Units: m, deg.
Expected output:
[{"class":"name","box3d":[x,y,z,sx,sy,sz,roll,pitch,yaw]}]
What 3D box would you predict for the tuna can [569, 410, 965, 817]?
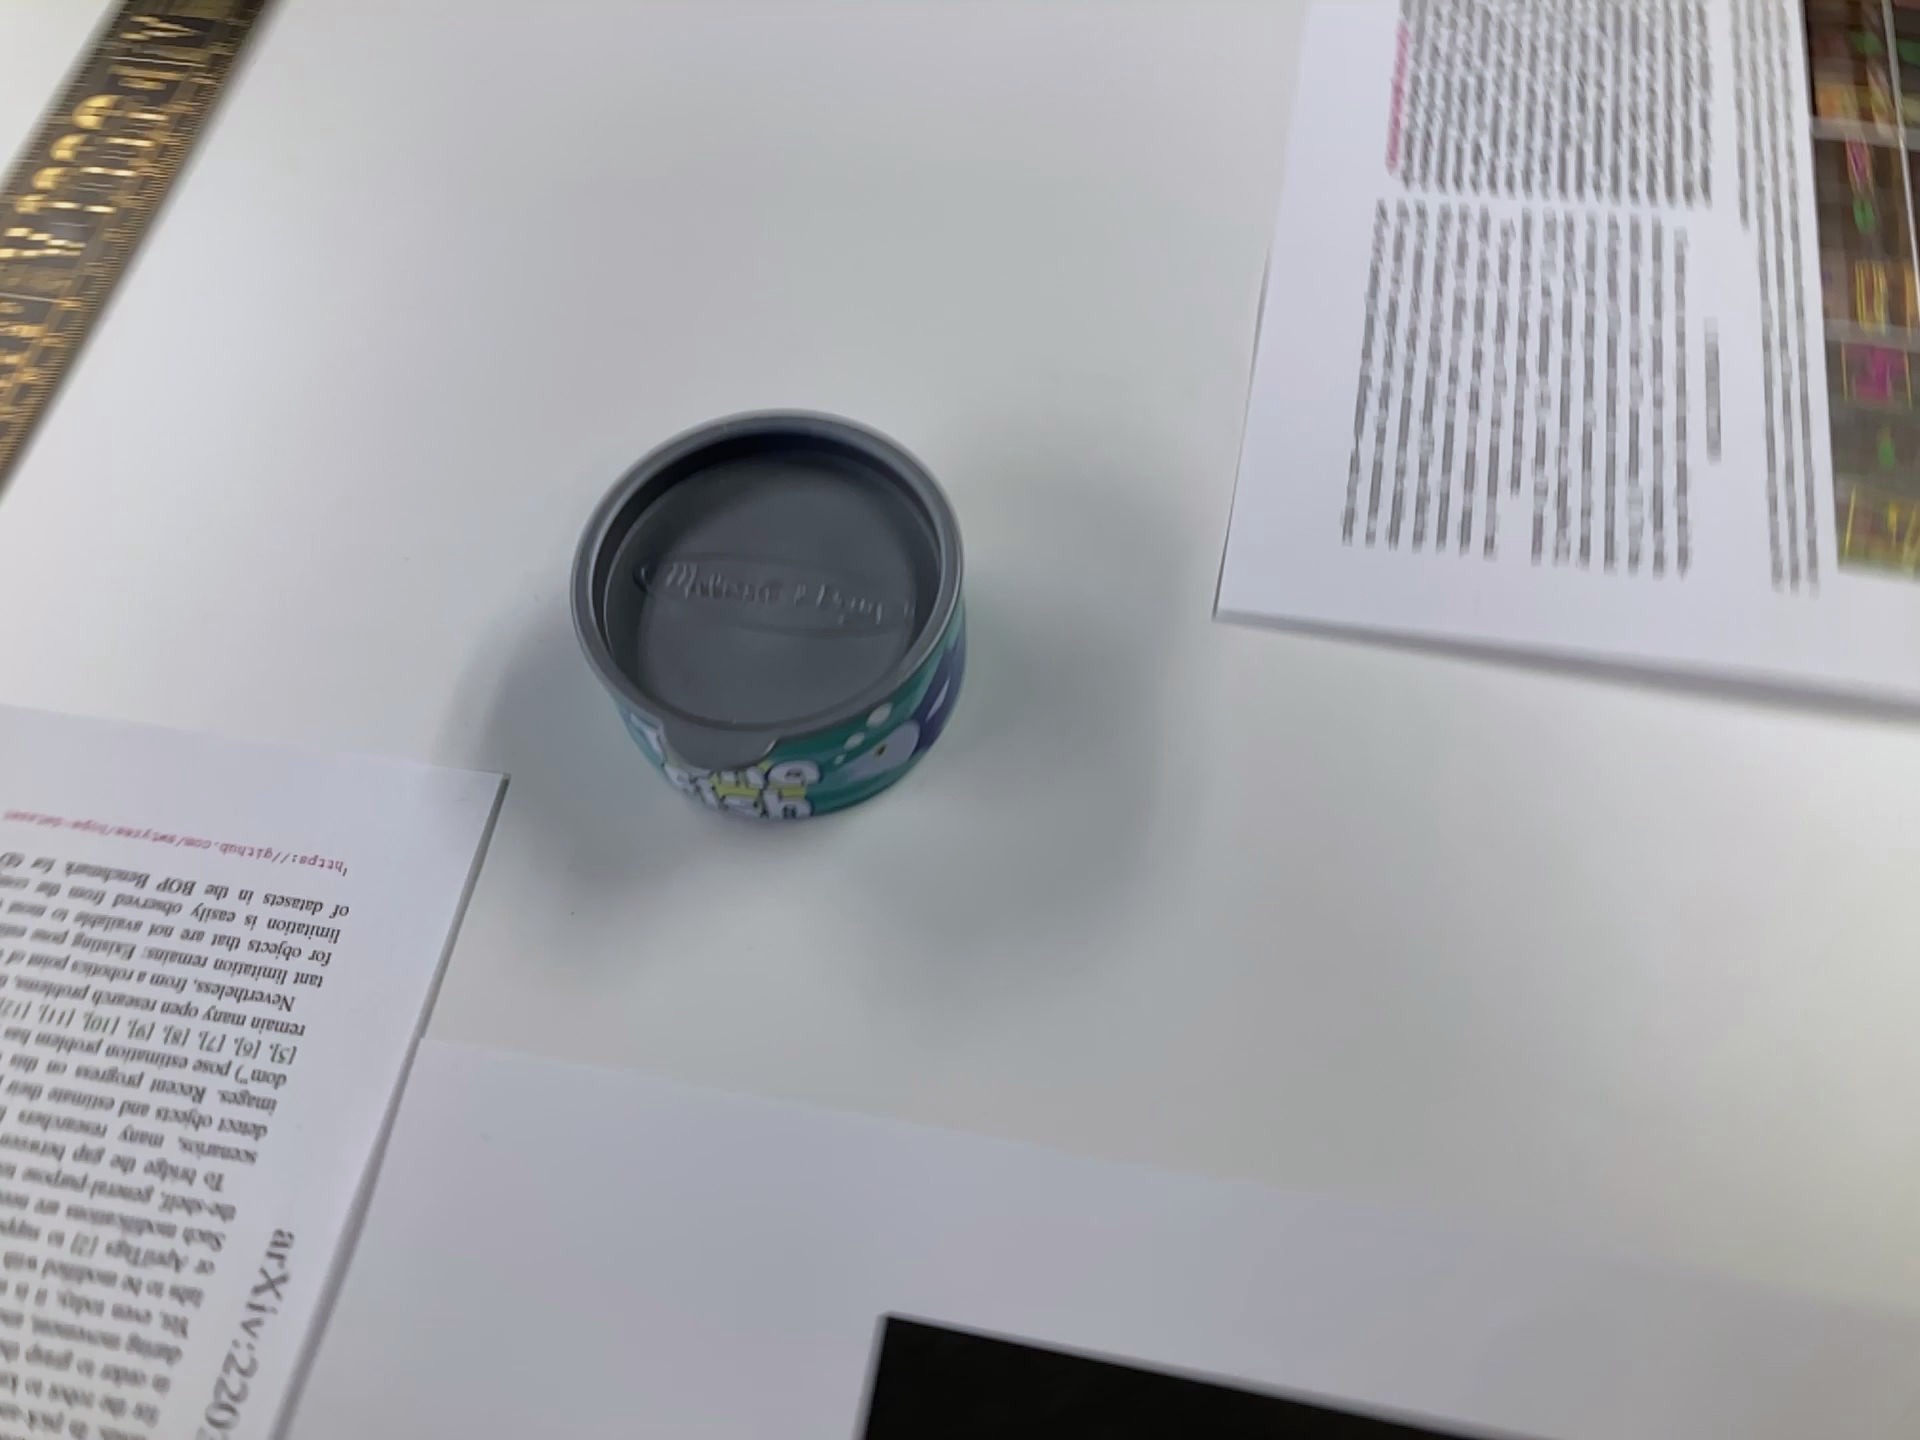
[{"class":"tuna can","box3d":[-0.033,-0.016,0.278,0.071,0.033,0.071,-1,62,3]}]
